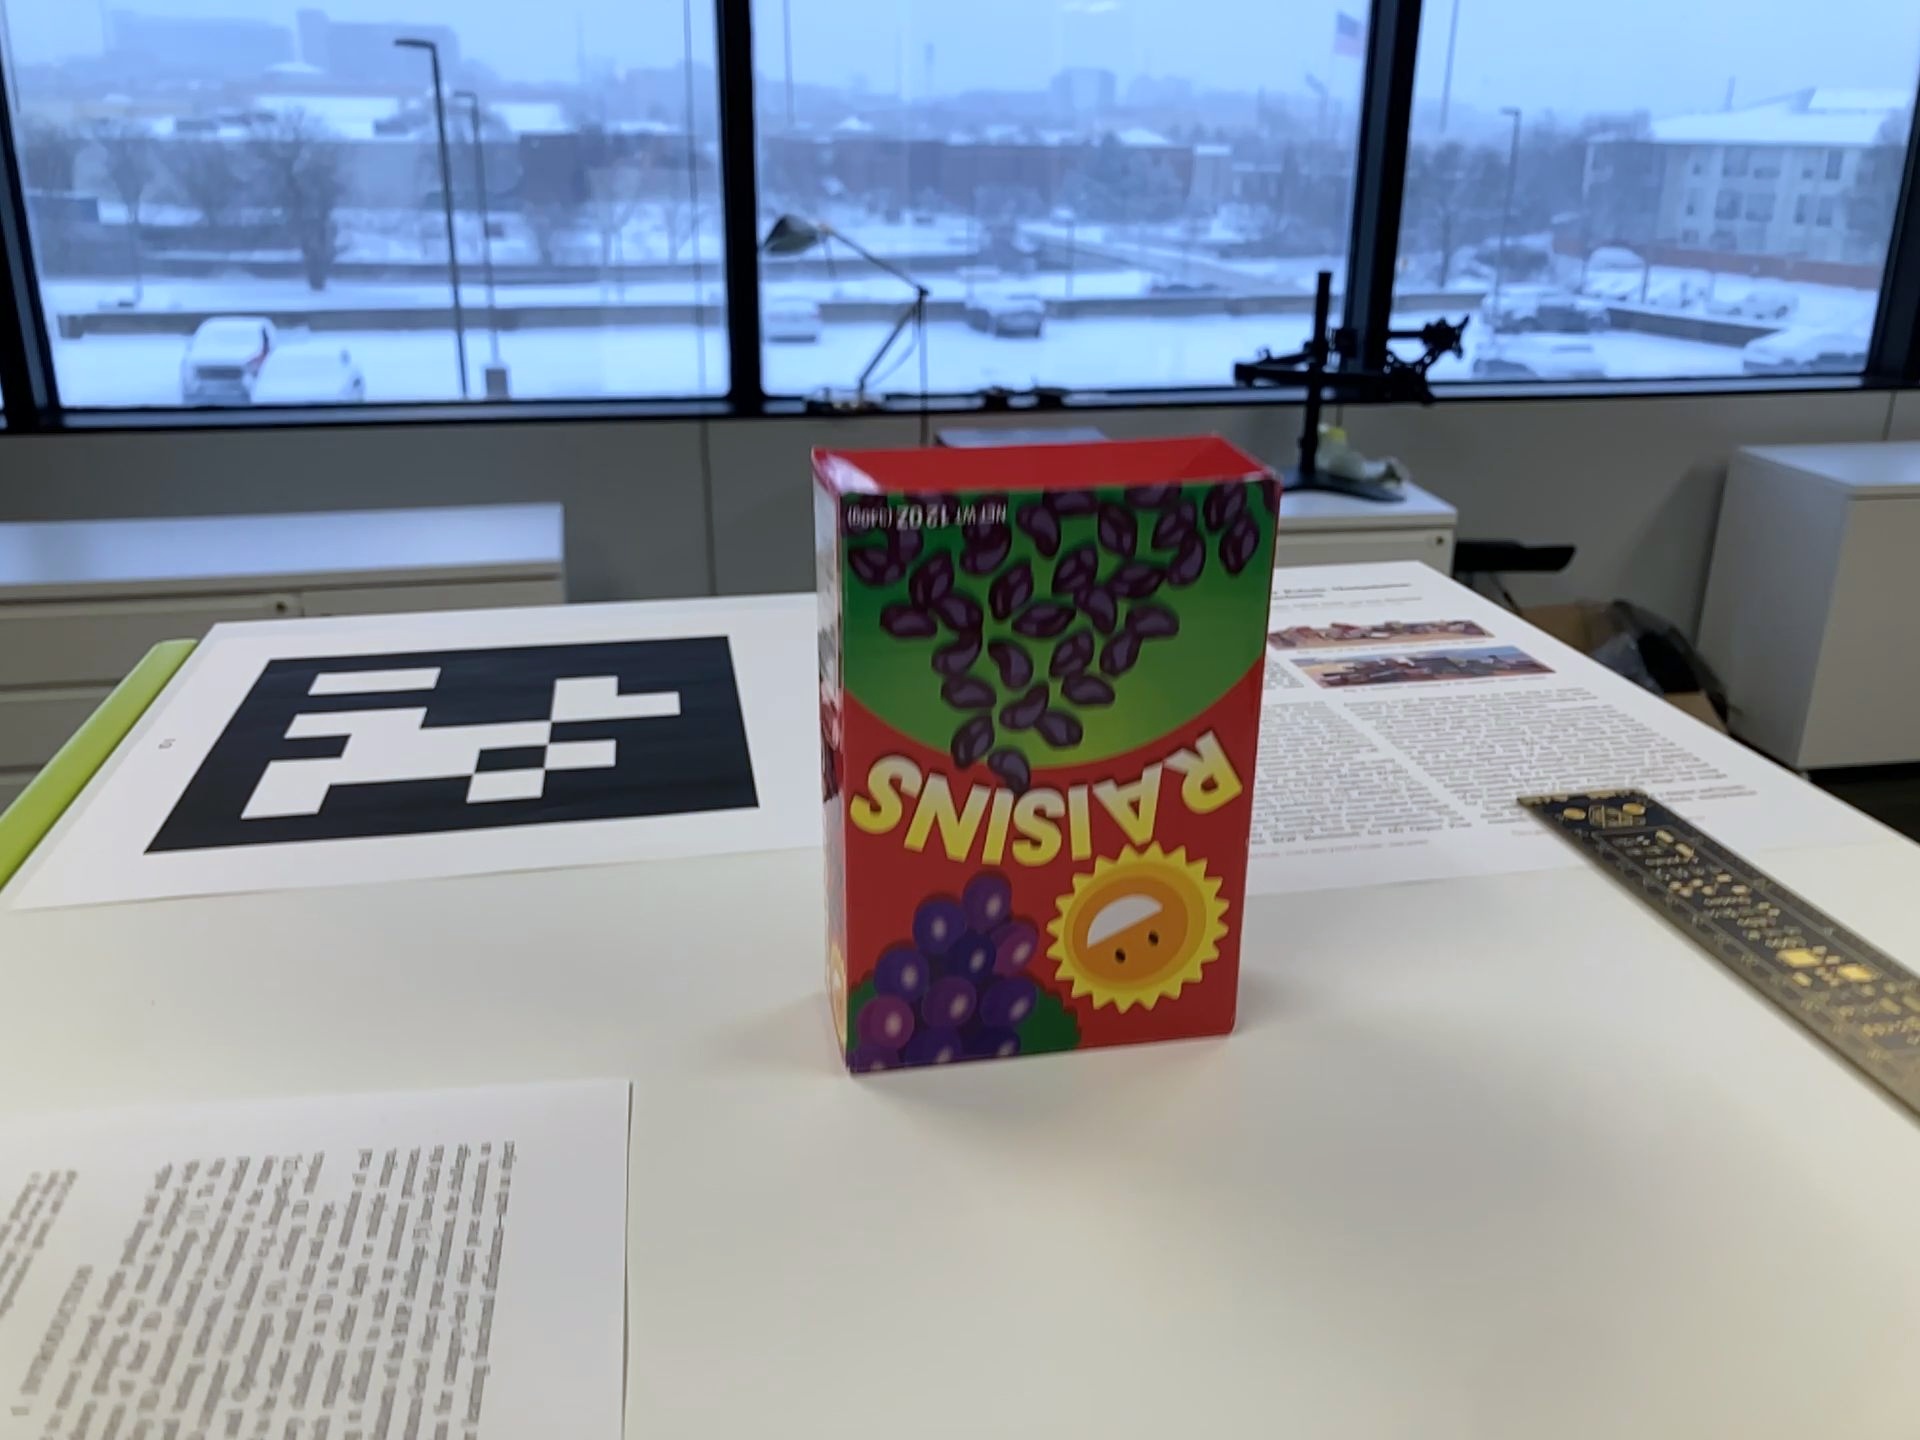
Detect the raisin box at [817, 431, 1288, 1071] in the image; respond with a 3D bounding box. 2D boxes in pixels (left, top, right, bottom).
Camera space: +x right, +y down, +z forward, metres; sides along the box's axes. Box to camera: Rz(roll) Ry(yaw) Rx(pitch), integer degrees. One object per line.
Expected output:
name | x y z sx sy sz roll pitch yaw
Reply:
raisin box | 0.015 0.006 0.323 0.086 0.123 0.040 -4 22 -11
